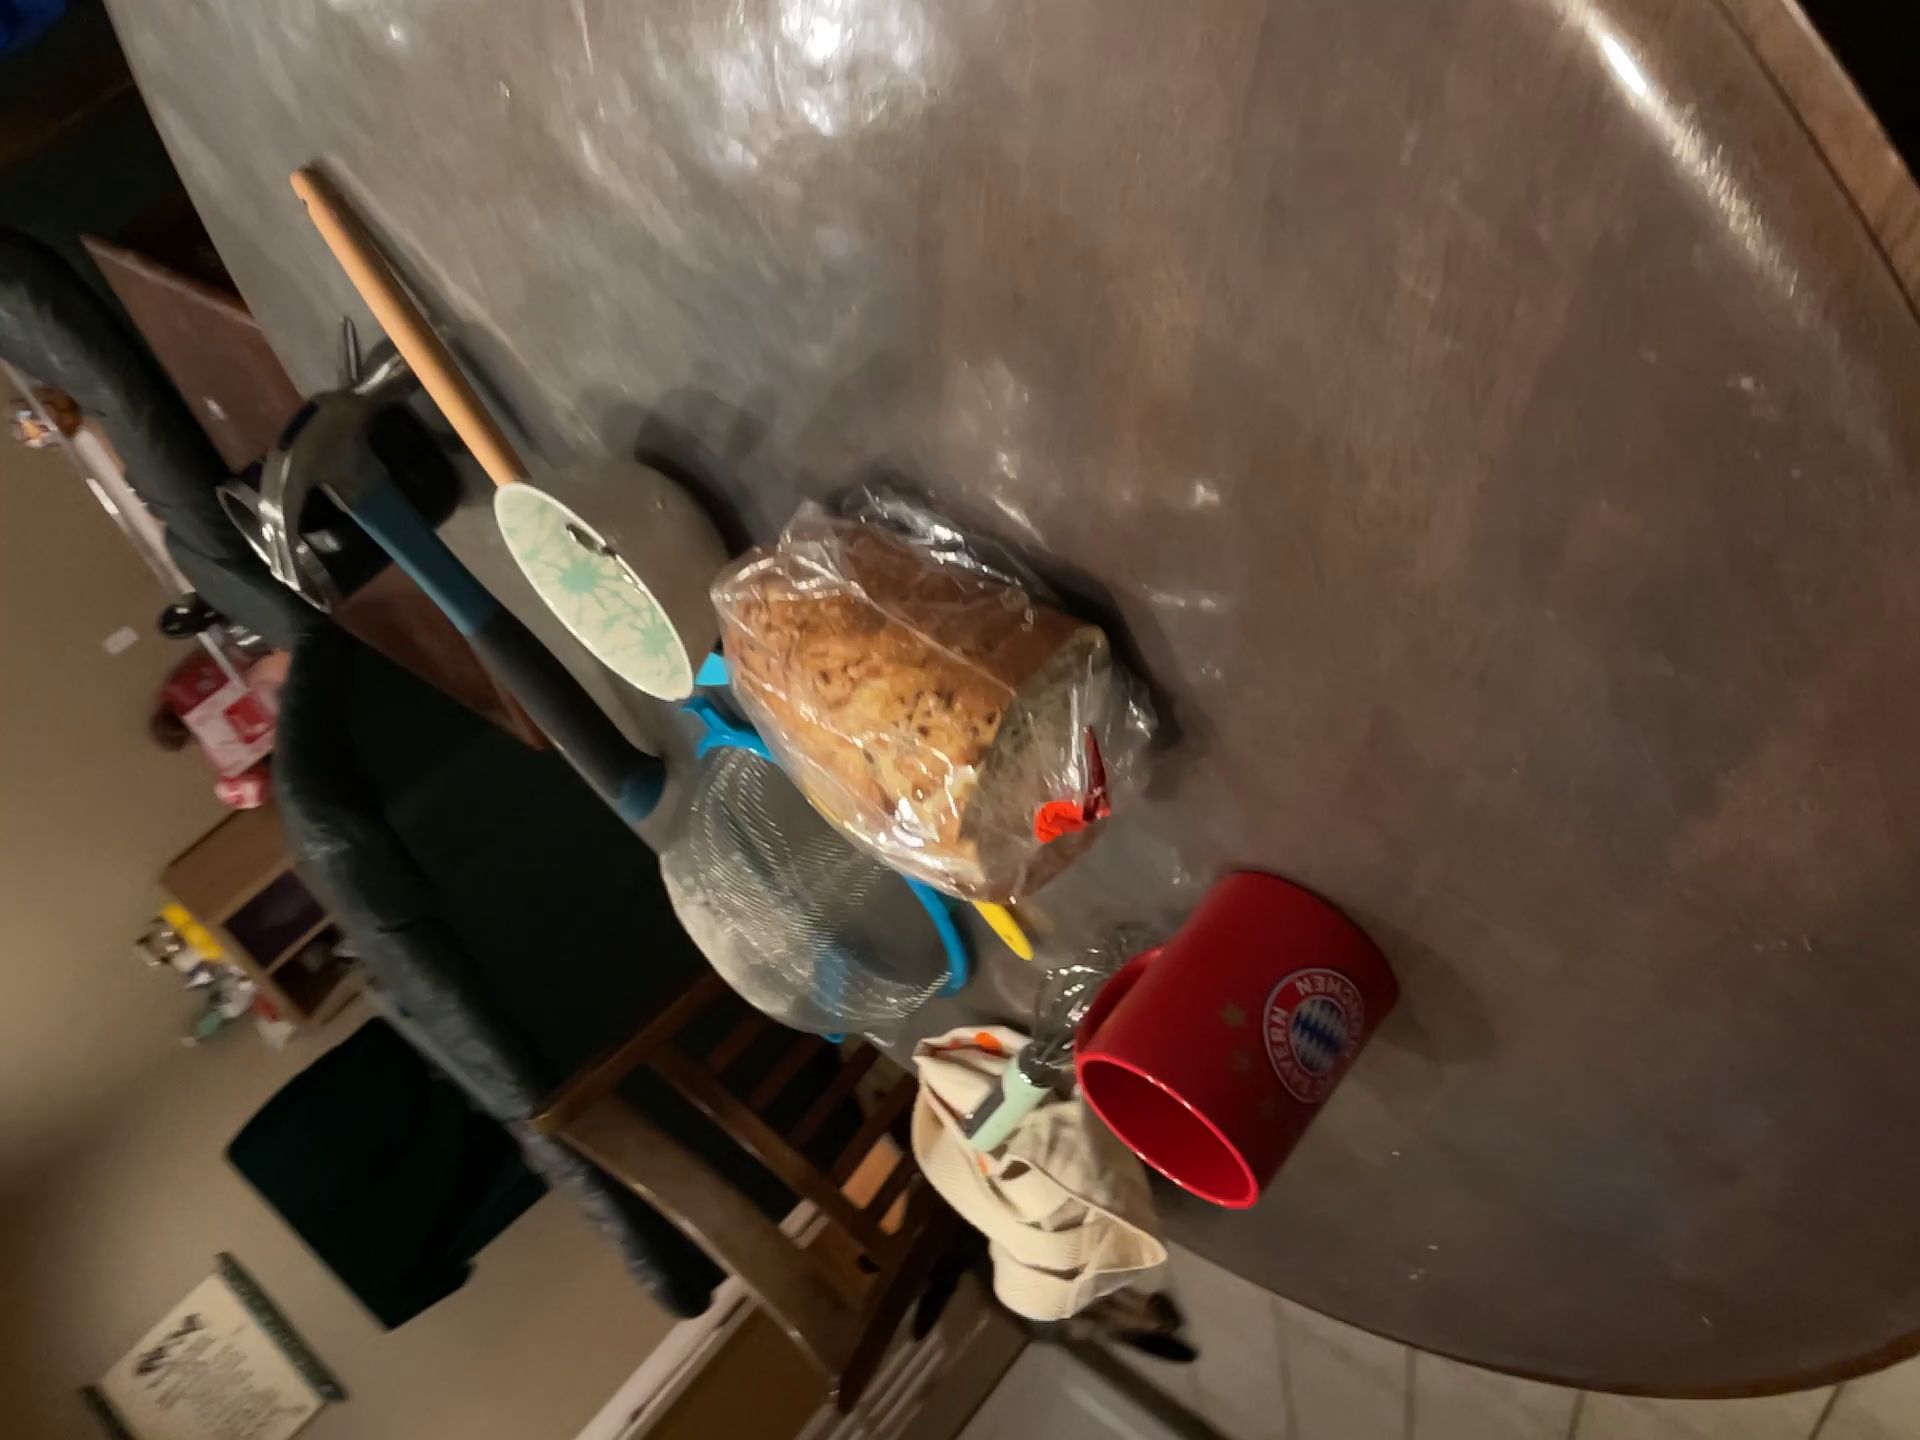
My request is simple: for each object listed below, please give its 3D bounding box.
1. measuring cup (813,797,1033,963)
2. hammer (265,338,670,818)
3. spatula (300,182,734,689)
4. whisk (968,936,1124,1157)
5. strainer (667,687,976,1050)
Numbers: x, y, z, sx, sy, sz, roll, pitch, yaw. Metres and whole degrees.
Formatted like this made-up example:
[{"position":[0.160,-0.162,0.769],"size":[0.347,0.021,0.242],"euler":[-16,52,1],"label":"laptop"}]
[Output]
[{"position":[-0.021,0.070,0.799],"size":[0.156,0.029,0.062],"euler":[50,155,-7],"label":"measuring cup"},{"position":[-0.267,-0.053,0.927],"size":[0.033,0.128,0.330],"euler":[24,157,43],"label":"hammer"},{"position":[-0.222,-0.133,0.812],"size":[0.317,0.044,0.082],"euler":[57,154,-15],"label":"spatula"},{"position":[0.042,0.174,0.806],"size":[0.059,0.058,0.246],"euler":[15,145,-7],"label":"whisk"},{"position":[-0.103,0.145,0.965],"size":[0.211,0.095,0.340],"euler":[36,150,20],"label":"strainer"}]
